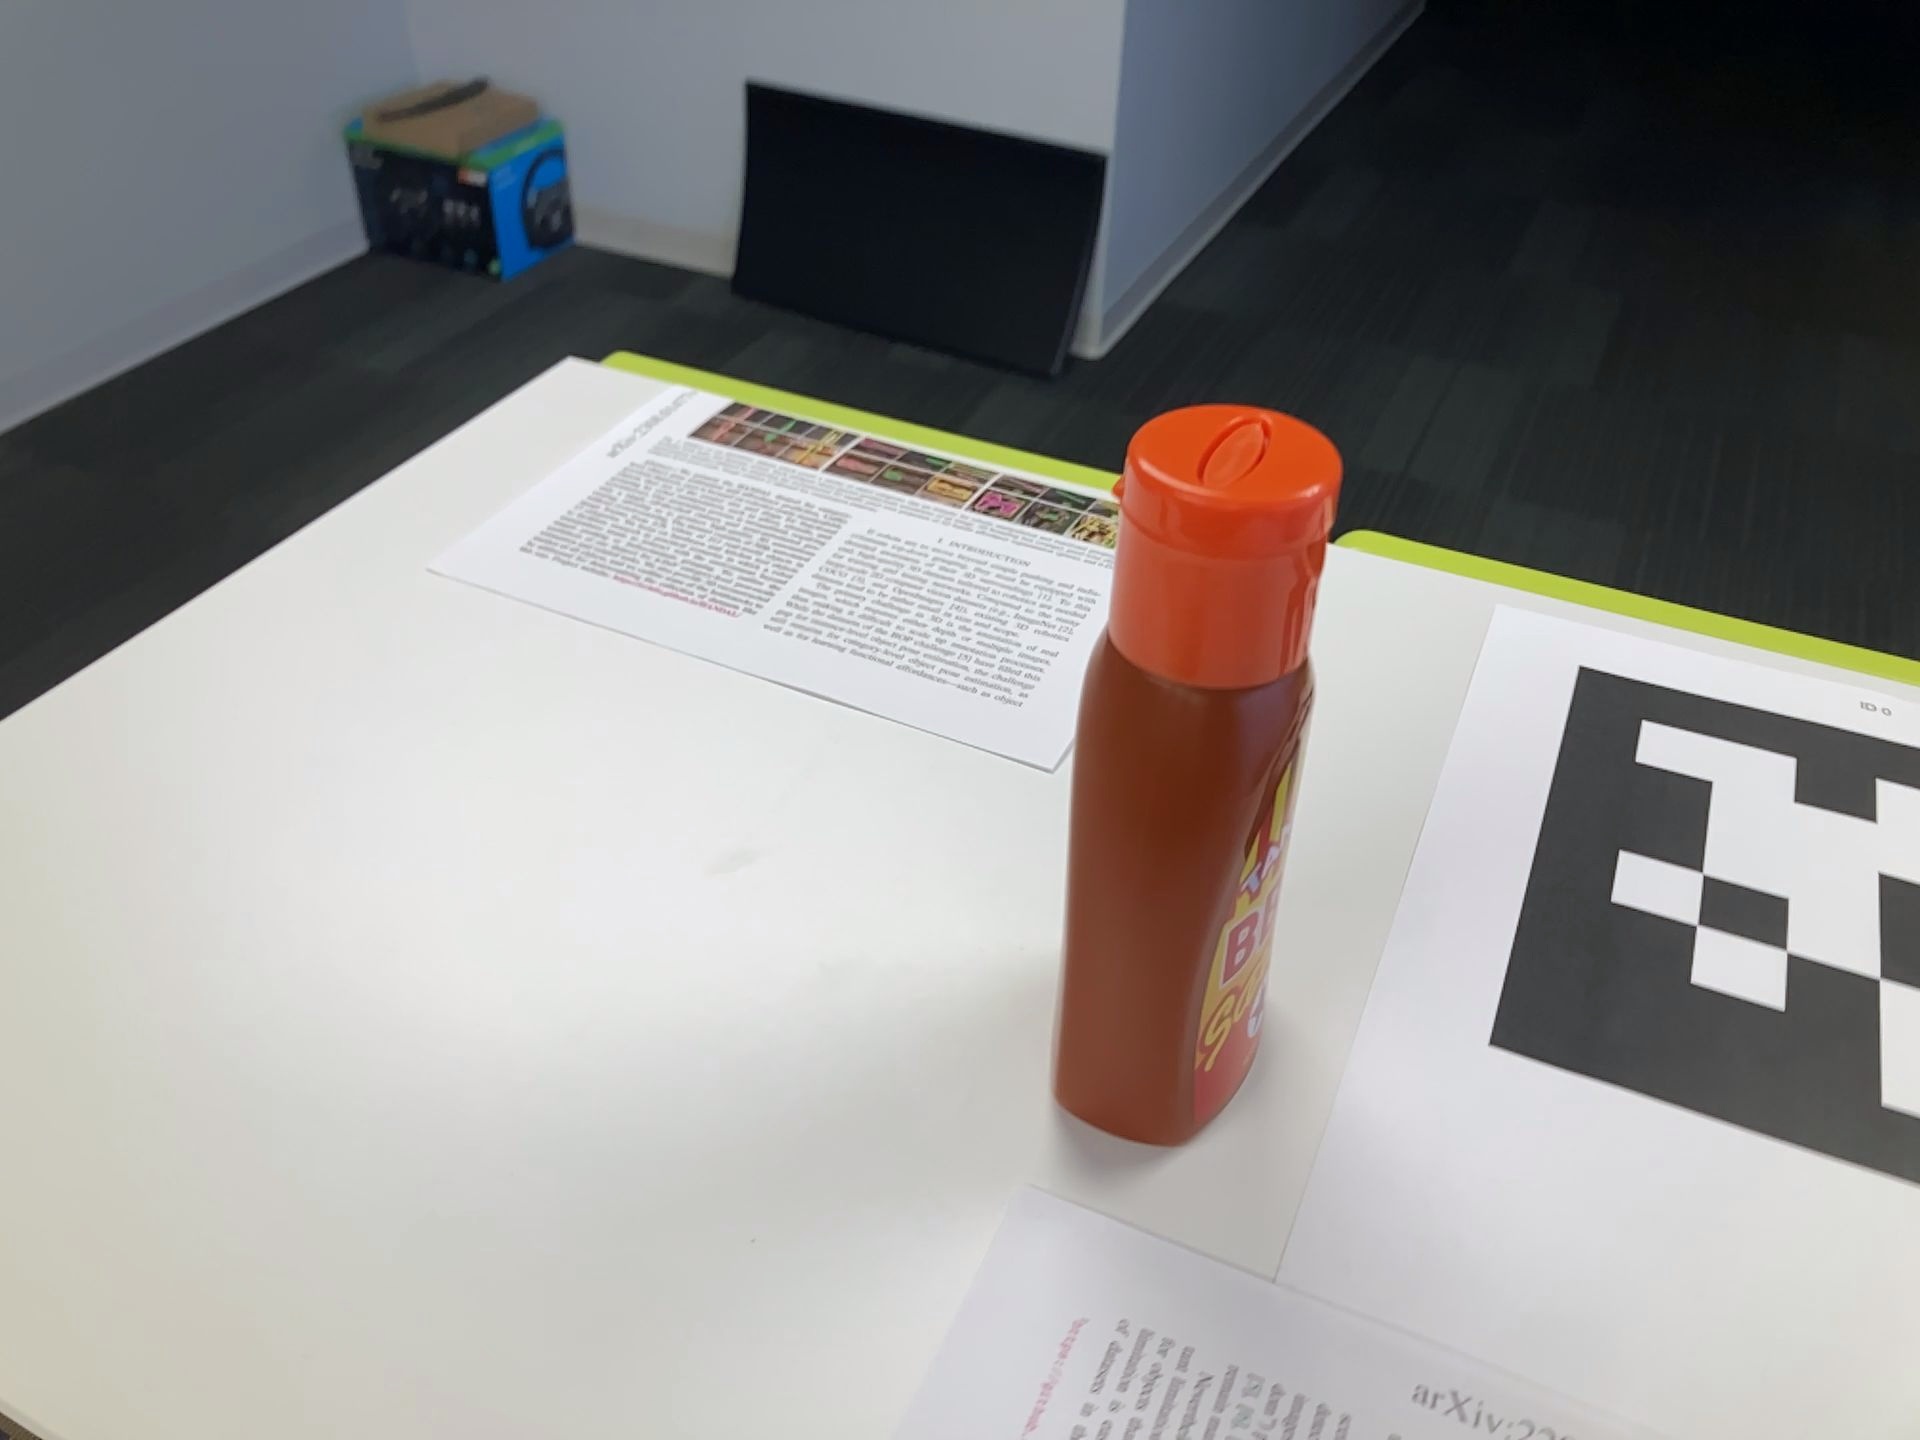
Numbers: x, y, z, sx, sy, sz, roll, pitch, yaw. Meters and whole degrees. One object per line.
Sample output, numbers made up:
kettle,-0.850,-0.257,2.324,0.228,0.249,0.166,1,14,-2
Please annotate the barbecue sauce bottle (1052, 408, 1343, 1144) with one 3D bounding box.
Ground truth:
barbecue sauce bottle,0.045,0.013,0.314,0.043,0.148,0.065,17,39,20
